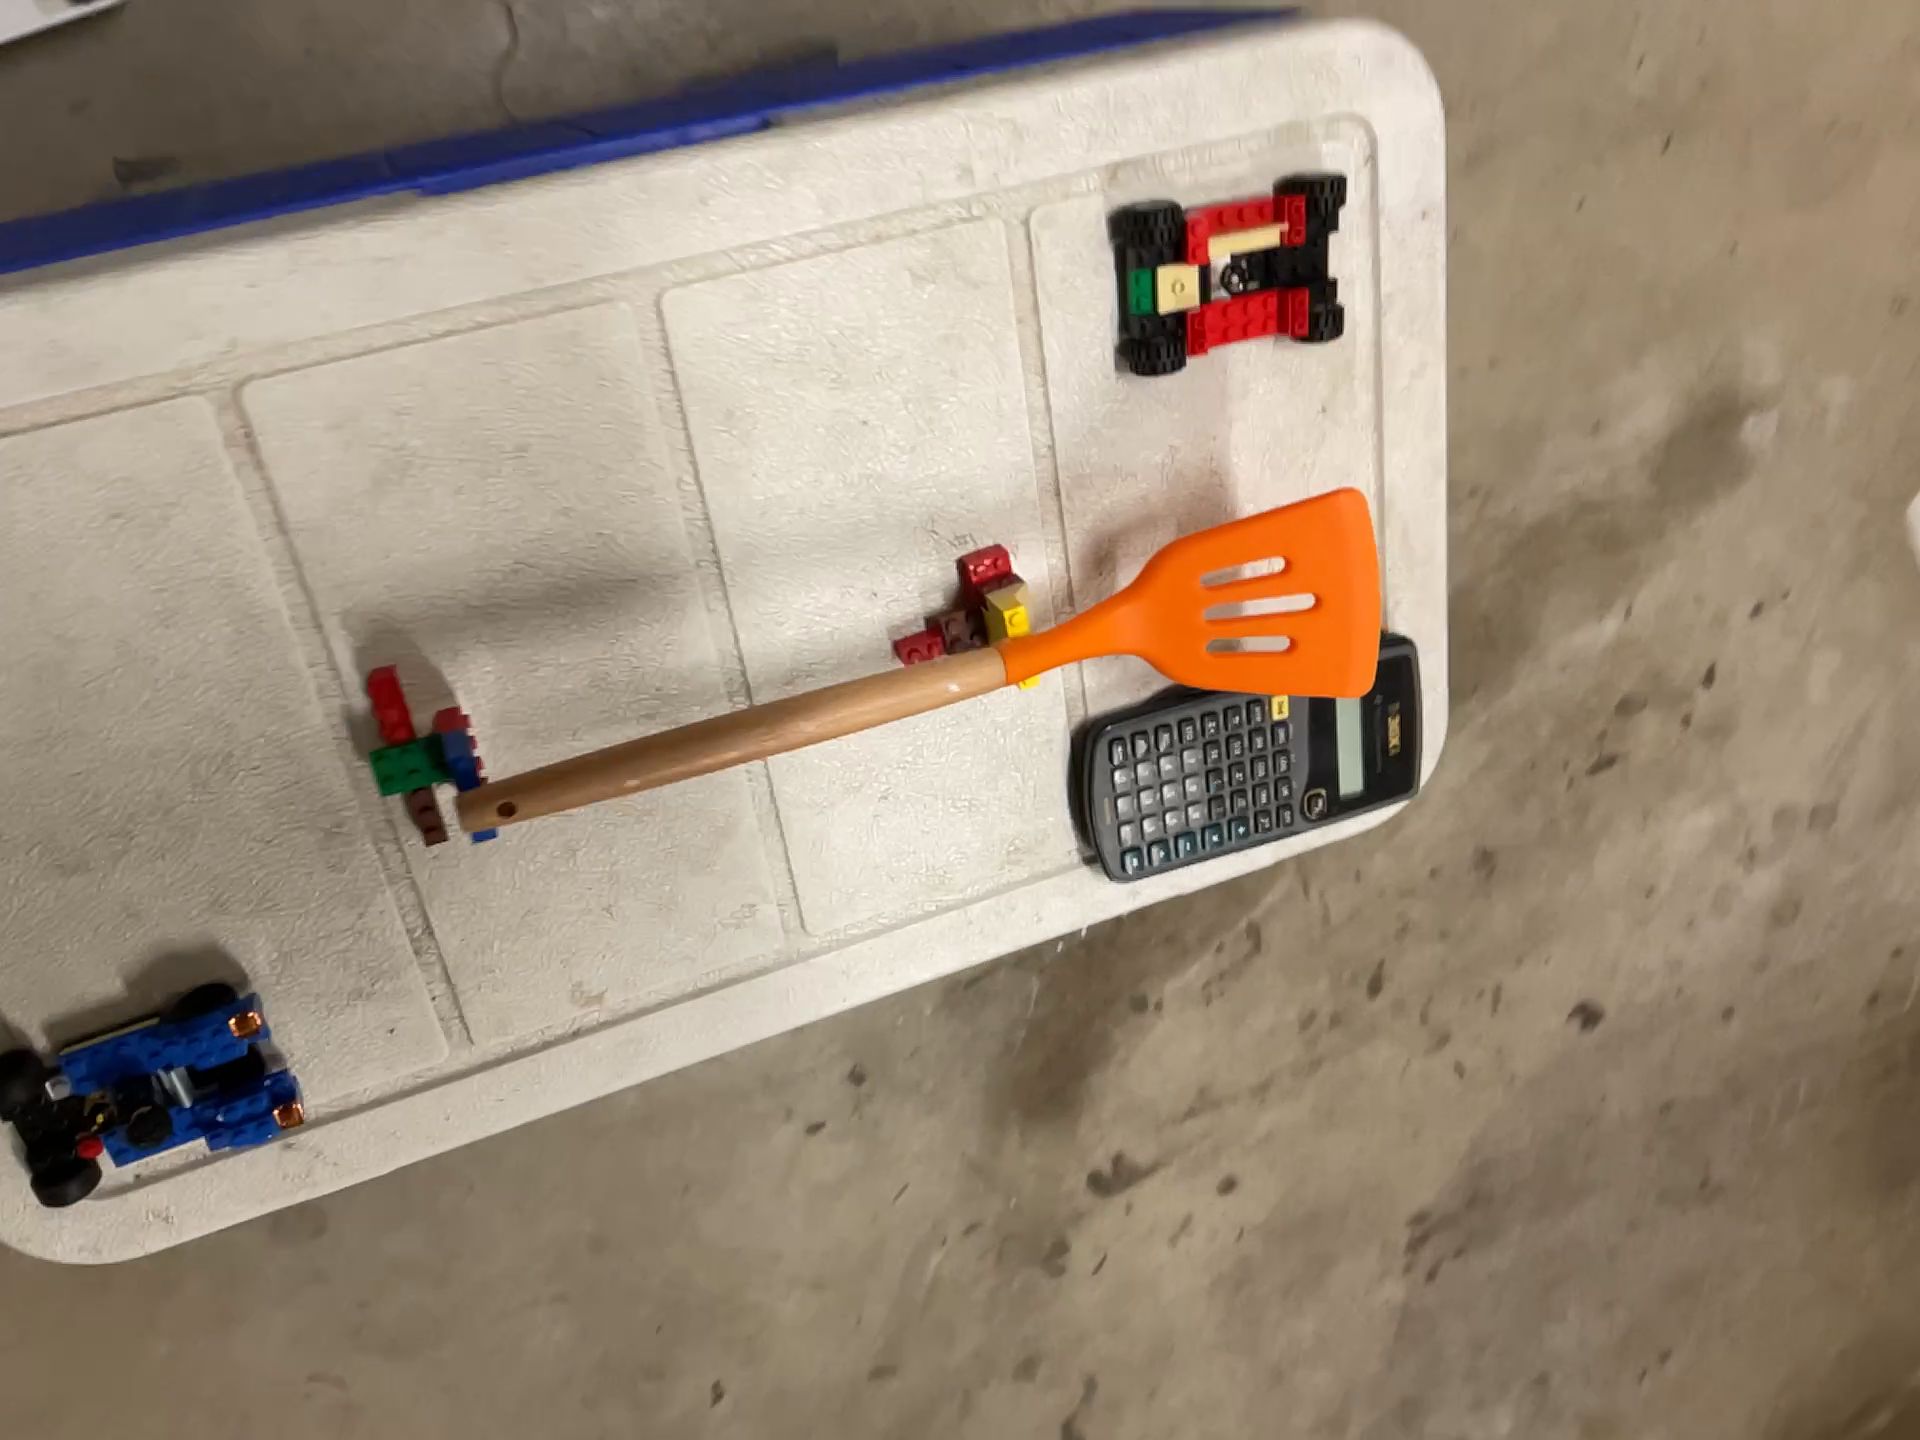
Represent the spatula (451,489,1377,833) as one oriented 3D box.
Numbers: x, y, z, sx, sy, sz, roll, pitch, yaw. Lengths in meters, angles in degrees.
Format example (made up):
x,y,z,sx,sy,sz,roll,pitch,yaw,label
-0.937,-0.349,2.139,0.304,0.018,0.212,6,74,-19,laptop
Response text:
x,y,z,sx,sy,sz,roll,pitch,yaw,label
-0.007,-0.010,0.541,0.323,0.041,0.080,-16,115,-17,spatula
